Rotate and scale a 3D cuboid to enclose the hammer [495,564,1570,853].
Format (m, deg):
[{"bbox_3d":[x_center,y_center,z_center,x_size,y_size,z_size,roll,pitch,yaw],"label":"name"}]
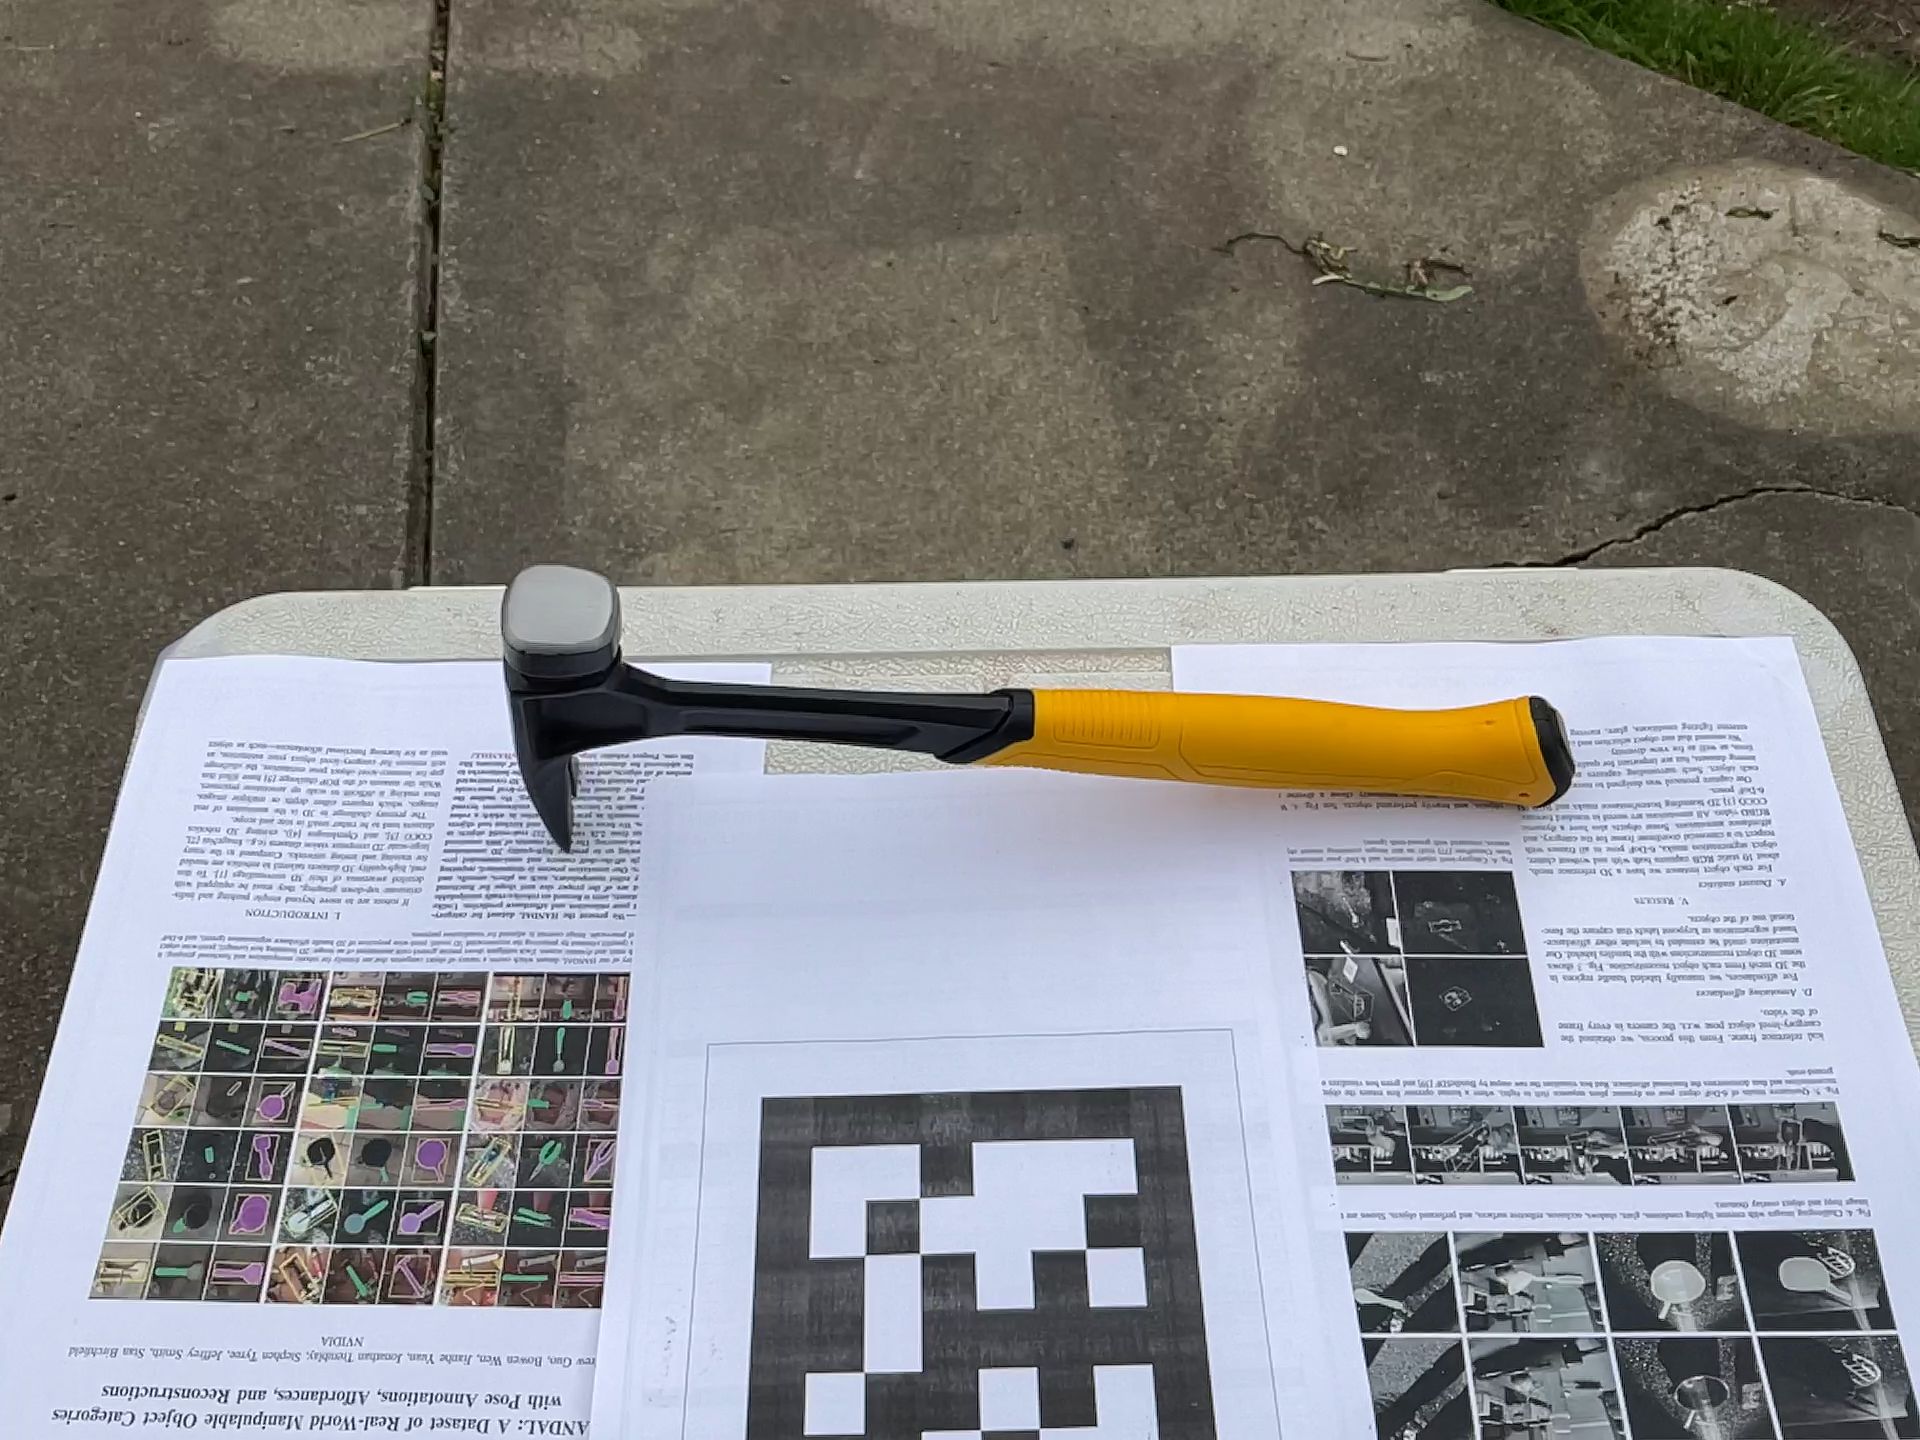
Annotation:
[{"bbox_3d":[0.029,0.008,0.511,0.336,0.127,0.034,3,61,-8],"label":"hammer"}]
